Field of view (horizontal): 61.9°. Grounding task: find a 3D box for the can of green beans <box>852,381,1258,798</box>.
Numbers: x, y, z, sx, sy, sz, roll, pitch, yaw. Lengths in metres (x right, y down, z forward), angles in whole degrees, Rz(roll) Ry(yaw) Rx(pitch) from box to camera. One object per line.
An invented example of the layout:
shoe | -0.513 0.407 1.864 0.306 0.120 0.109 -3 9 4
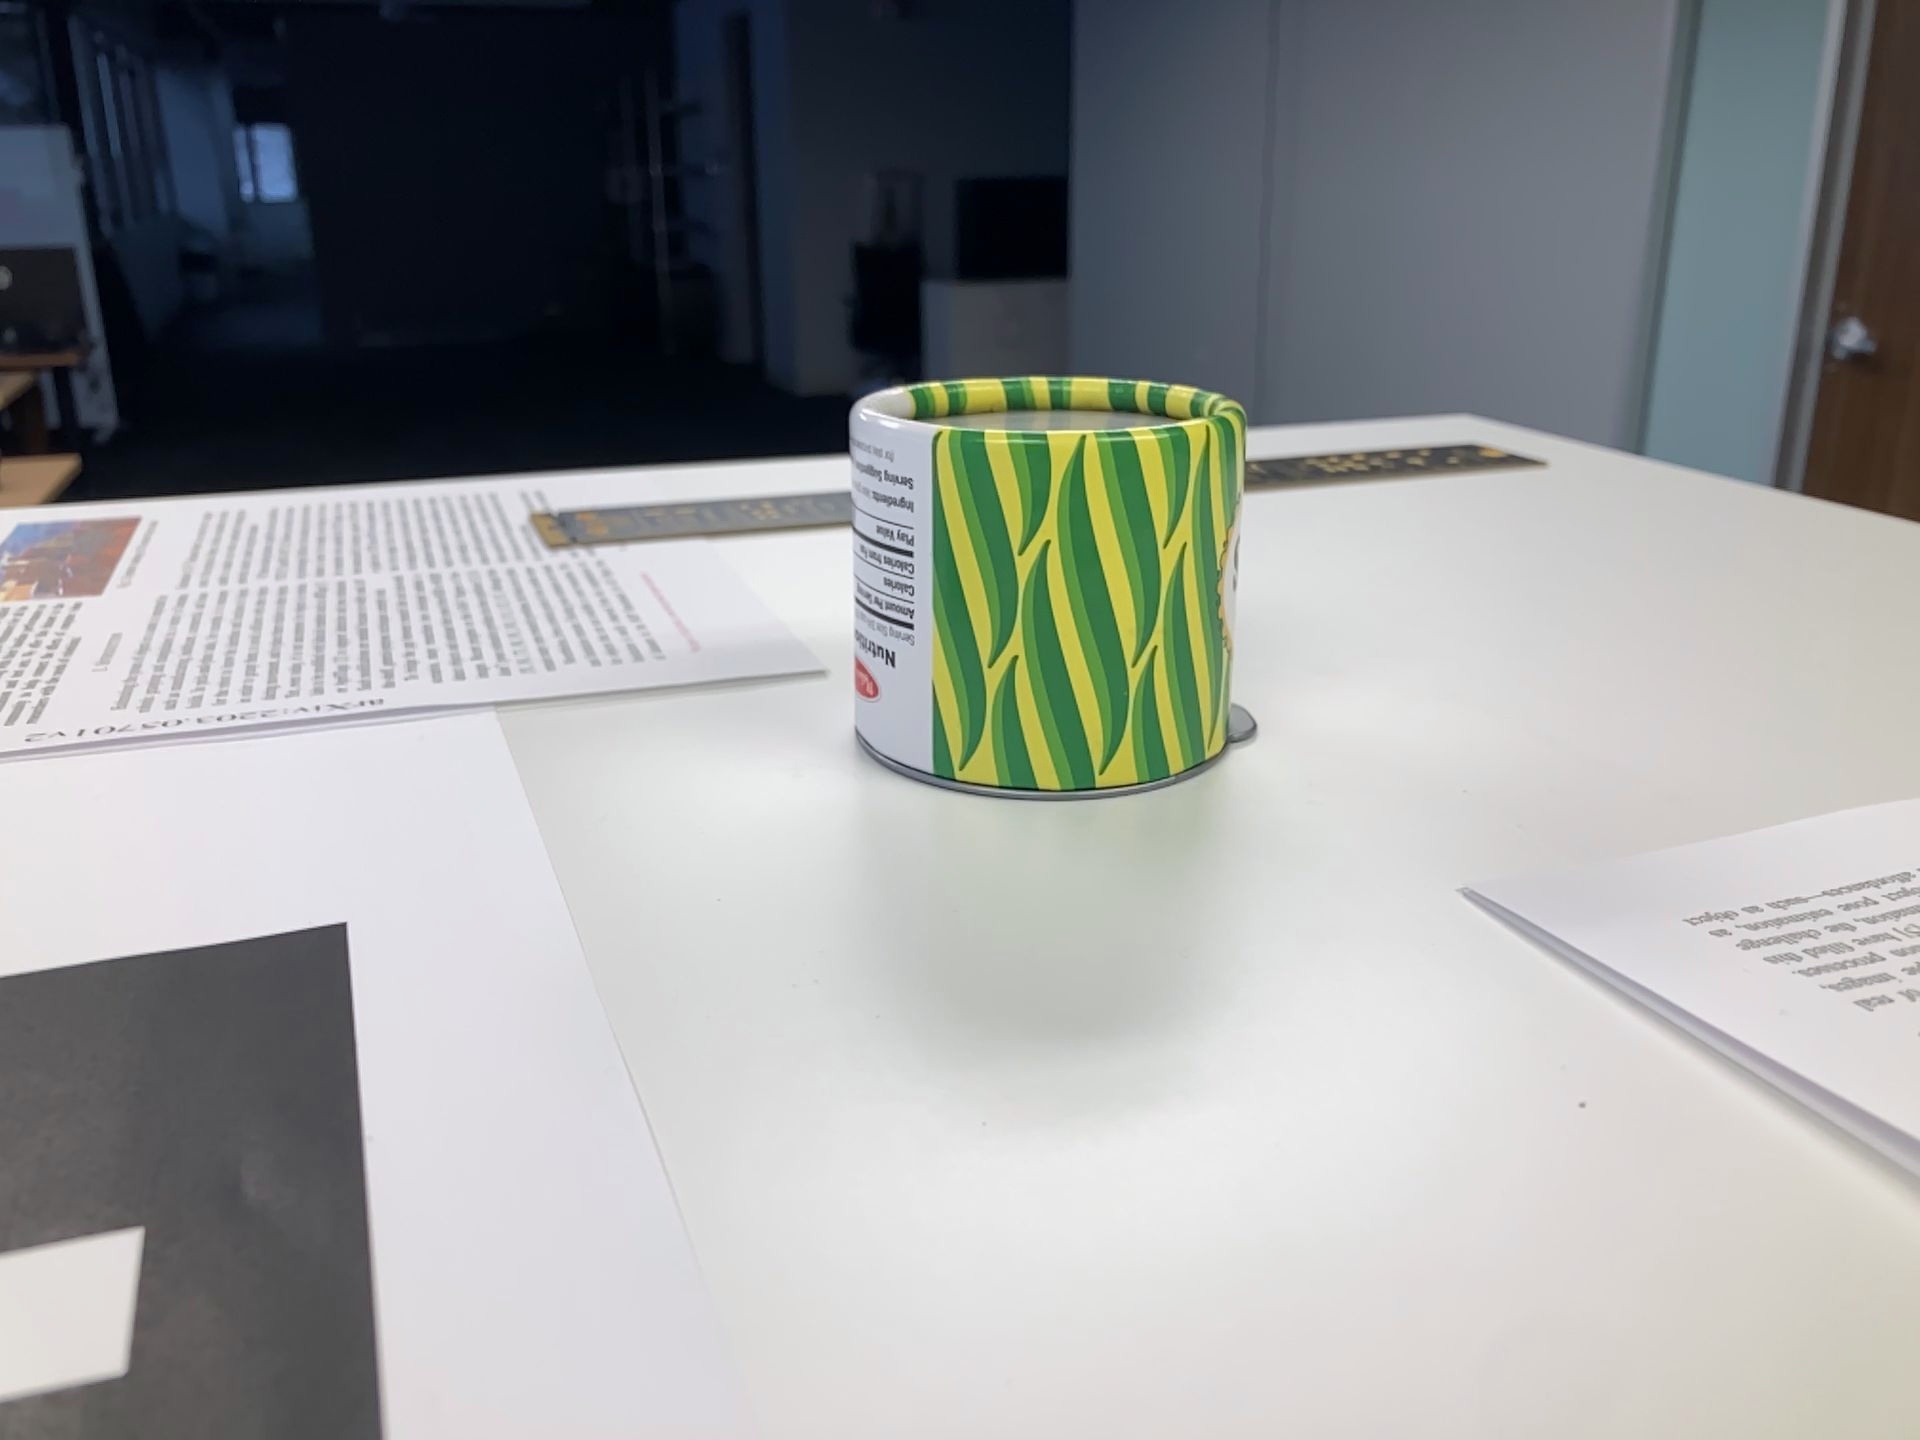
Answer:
can of green beans | 0.015 -0.025 0.275 0.071 0.058 0.071 0 19 0
